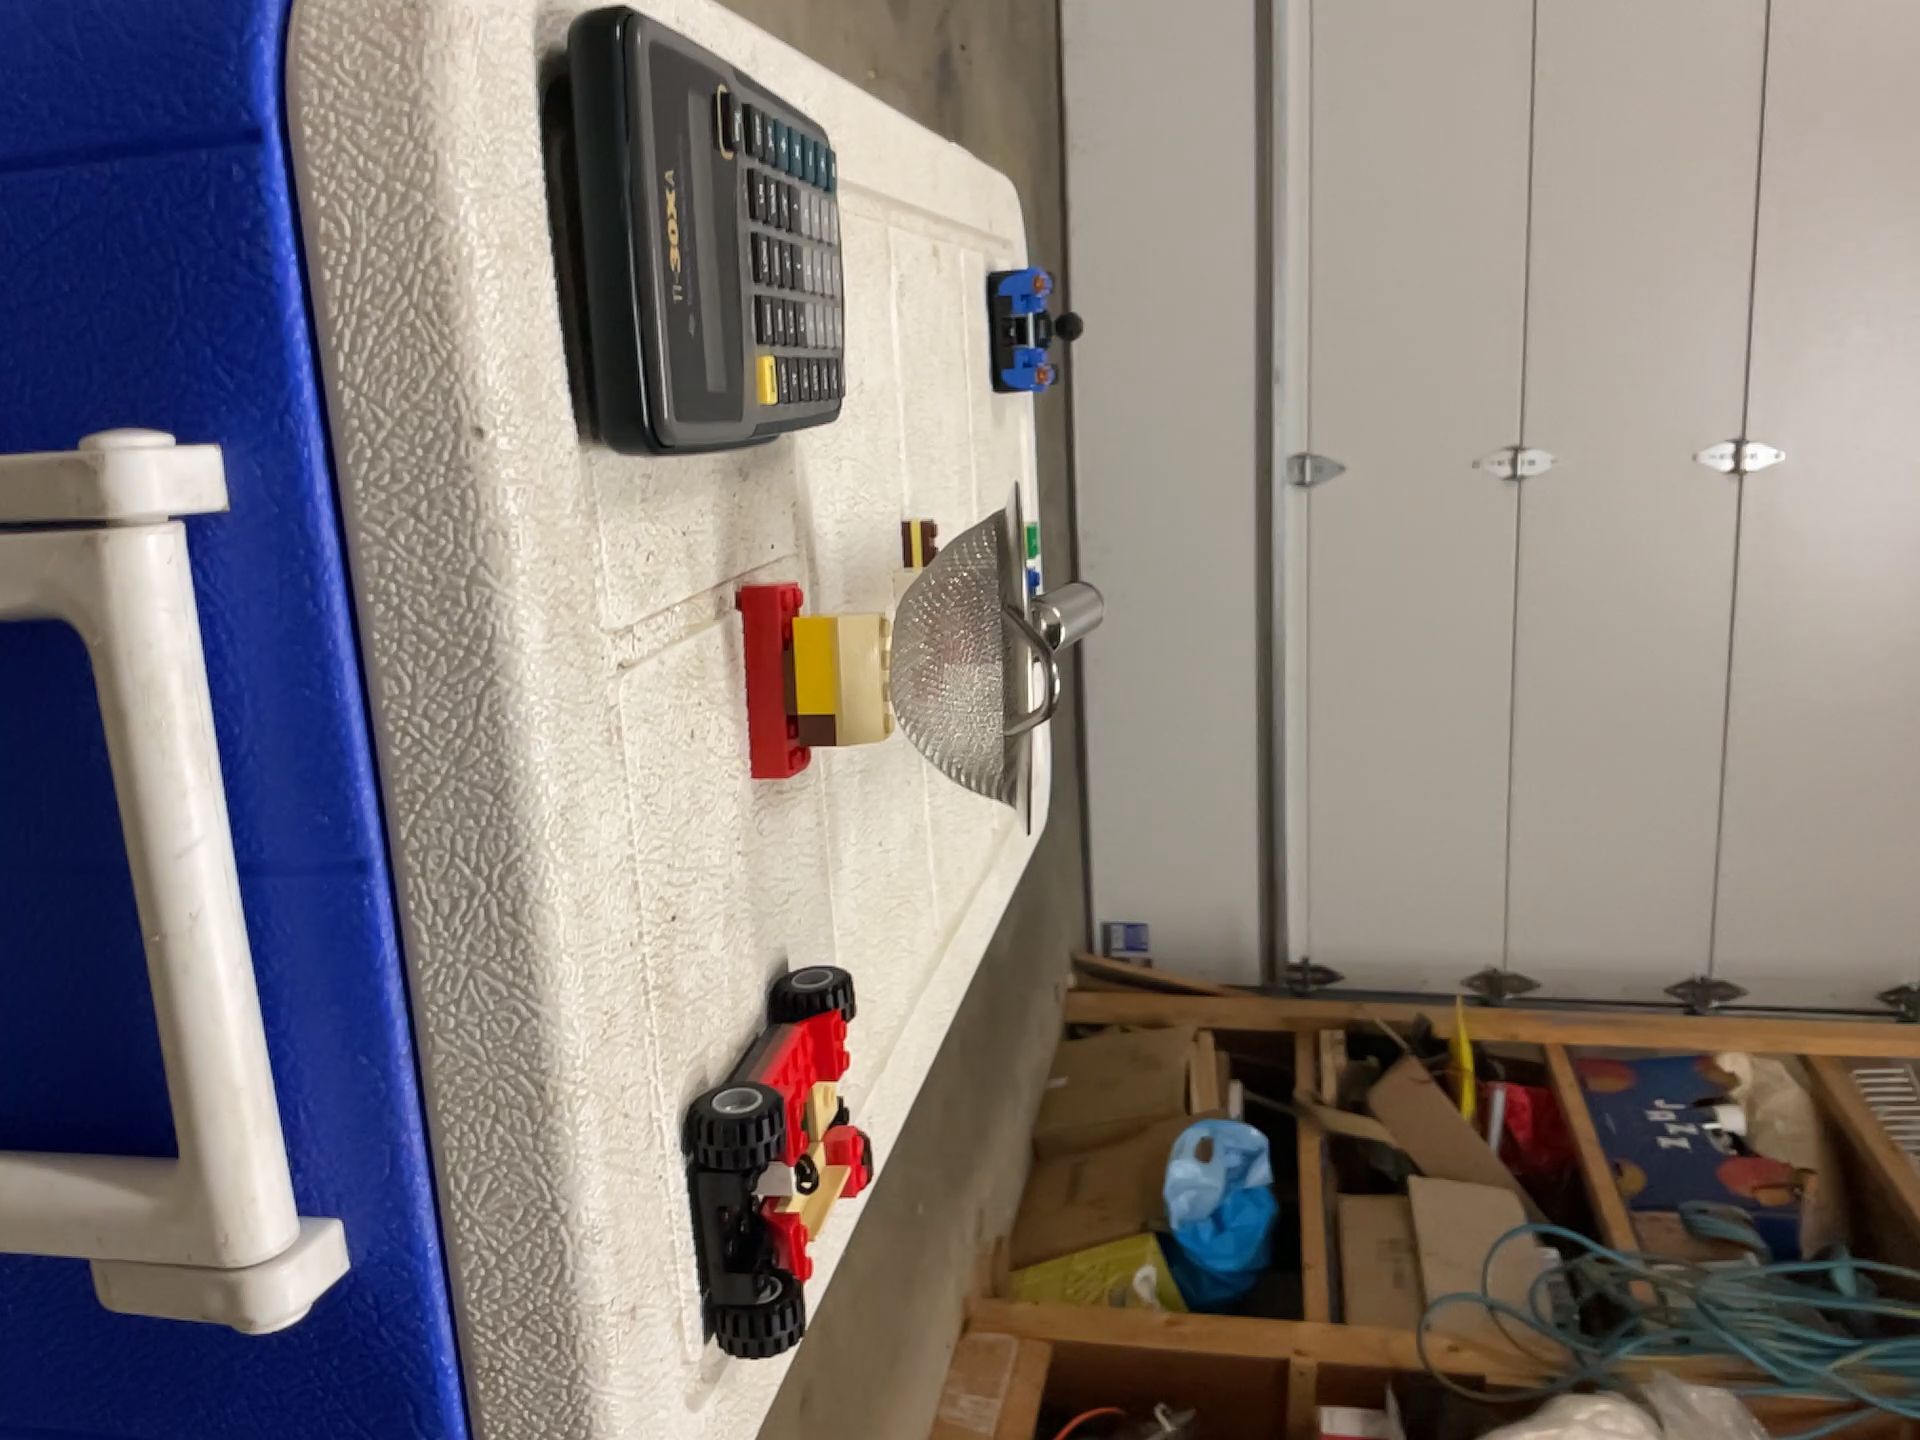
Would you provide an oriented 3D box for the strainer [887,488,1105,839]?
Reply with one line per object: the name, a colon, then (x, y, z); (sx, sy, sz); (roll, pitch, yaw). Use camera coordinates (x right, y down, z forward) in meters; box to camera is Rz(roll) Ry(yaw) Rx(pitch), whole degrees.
strainer: (0.019, -0.024, 0.465); (0.258, 0.050, 0.086); (-37, 127, -76)
